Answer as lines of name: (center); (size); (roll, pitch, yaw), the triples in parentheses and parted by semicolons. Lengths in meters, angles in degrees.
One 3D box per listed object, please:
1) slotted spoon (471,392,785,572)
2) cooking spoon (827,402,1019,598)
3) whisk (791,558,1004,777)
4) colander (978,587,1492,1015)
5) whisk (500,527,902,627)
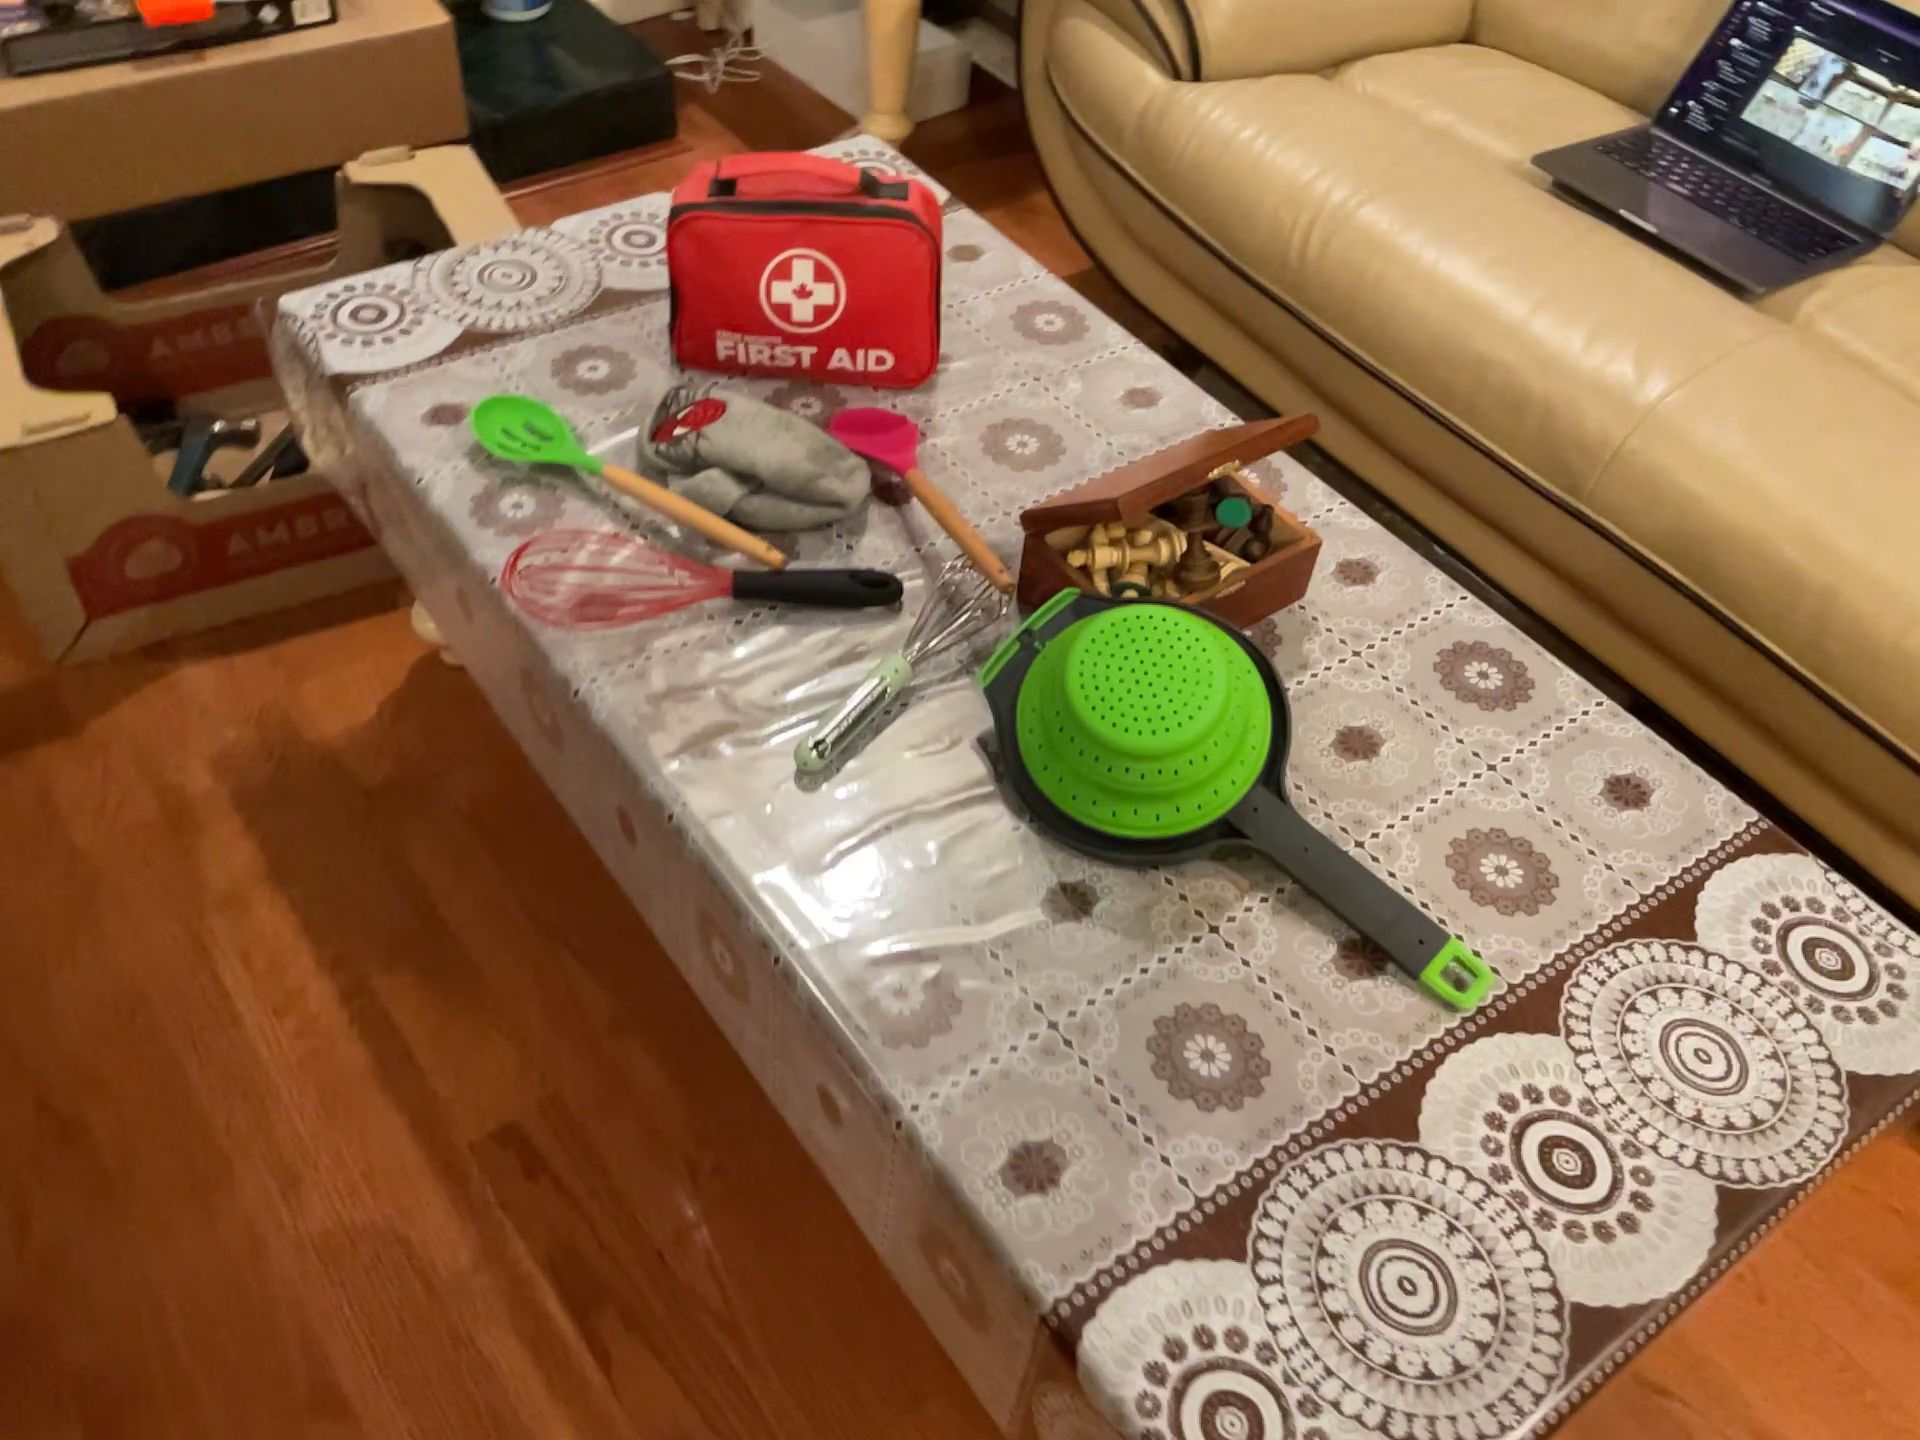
slotted spoon: (-0.262, -0.184, 1.250); (0.314, 0.031, 0.070); (28, 51, 22)
cooking spoon: (-0.029, -0.182, 1.258); (0.068, 0.017, 0.319); (-17, 41, -18)
whisk: (-0.040, -0.039, 1.152); (0.058, 0.059, 0.246); (-8, 31, 49)
colander: (0.182, 0.041, 1.034); (0.397, 0.094, 0.204); (41, 75, 19)
whisk: (-0.188, -0.103, 1.181); (0.295, 0.073, 0.073); (2, 41, -13)
